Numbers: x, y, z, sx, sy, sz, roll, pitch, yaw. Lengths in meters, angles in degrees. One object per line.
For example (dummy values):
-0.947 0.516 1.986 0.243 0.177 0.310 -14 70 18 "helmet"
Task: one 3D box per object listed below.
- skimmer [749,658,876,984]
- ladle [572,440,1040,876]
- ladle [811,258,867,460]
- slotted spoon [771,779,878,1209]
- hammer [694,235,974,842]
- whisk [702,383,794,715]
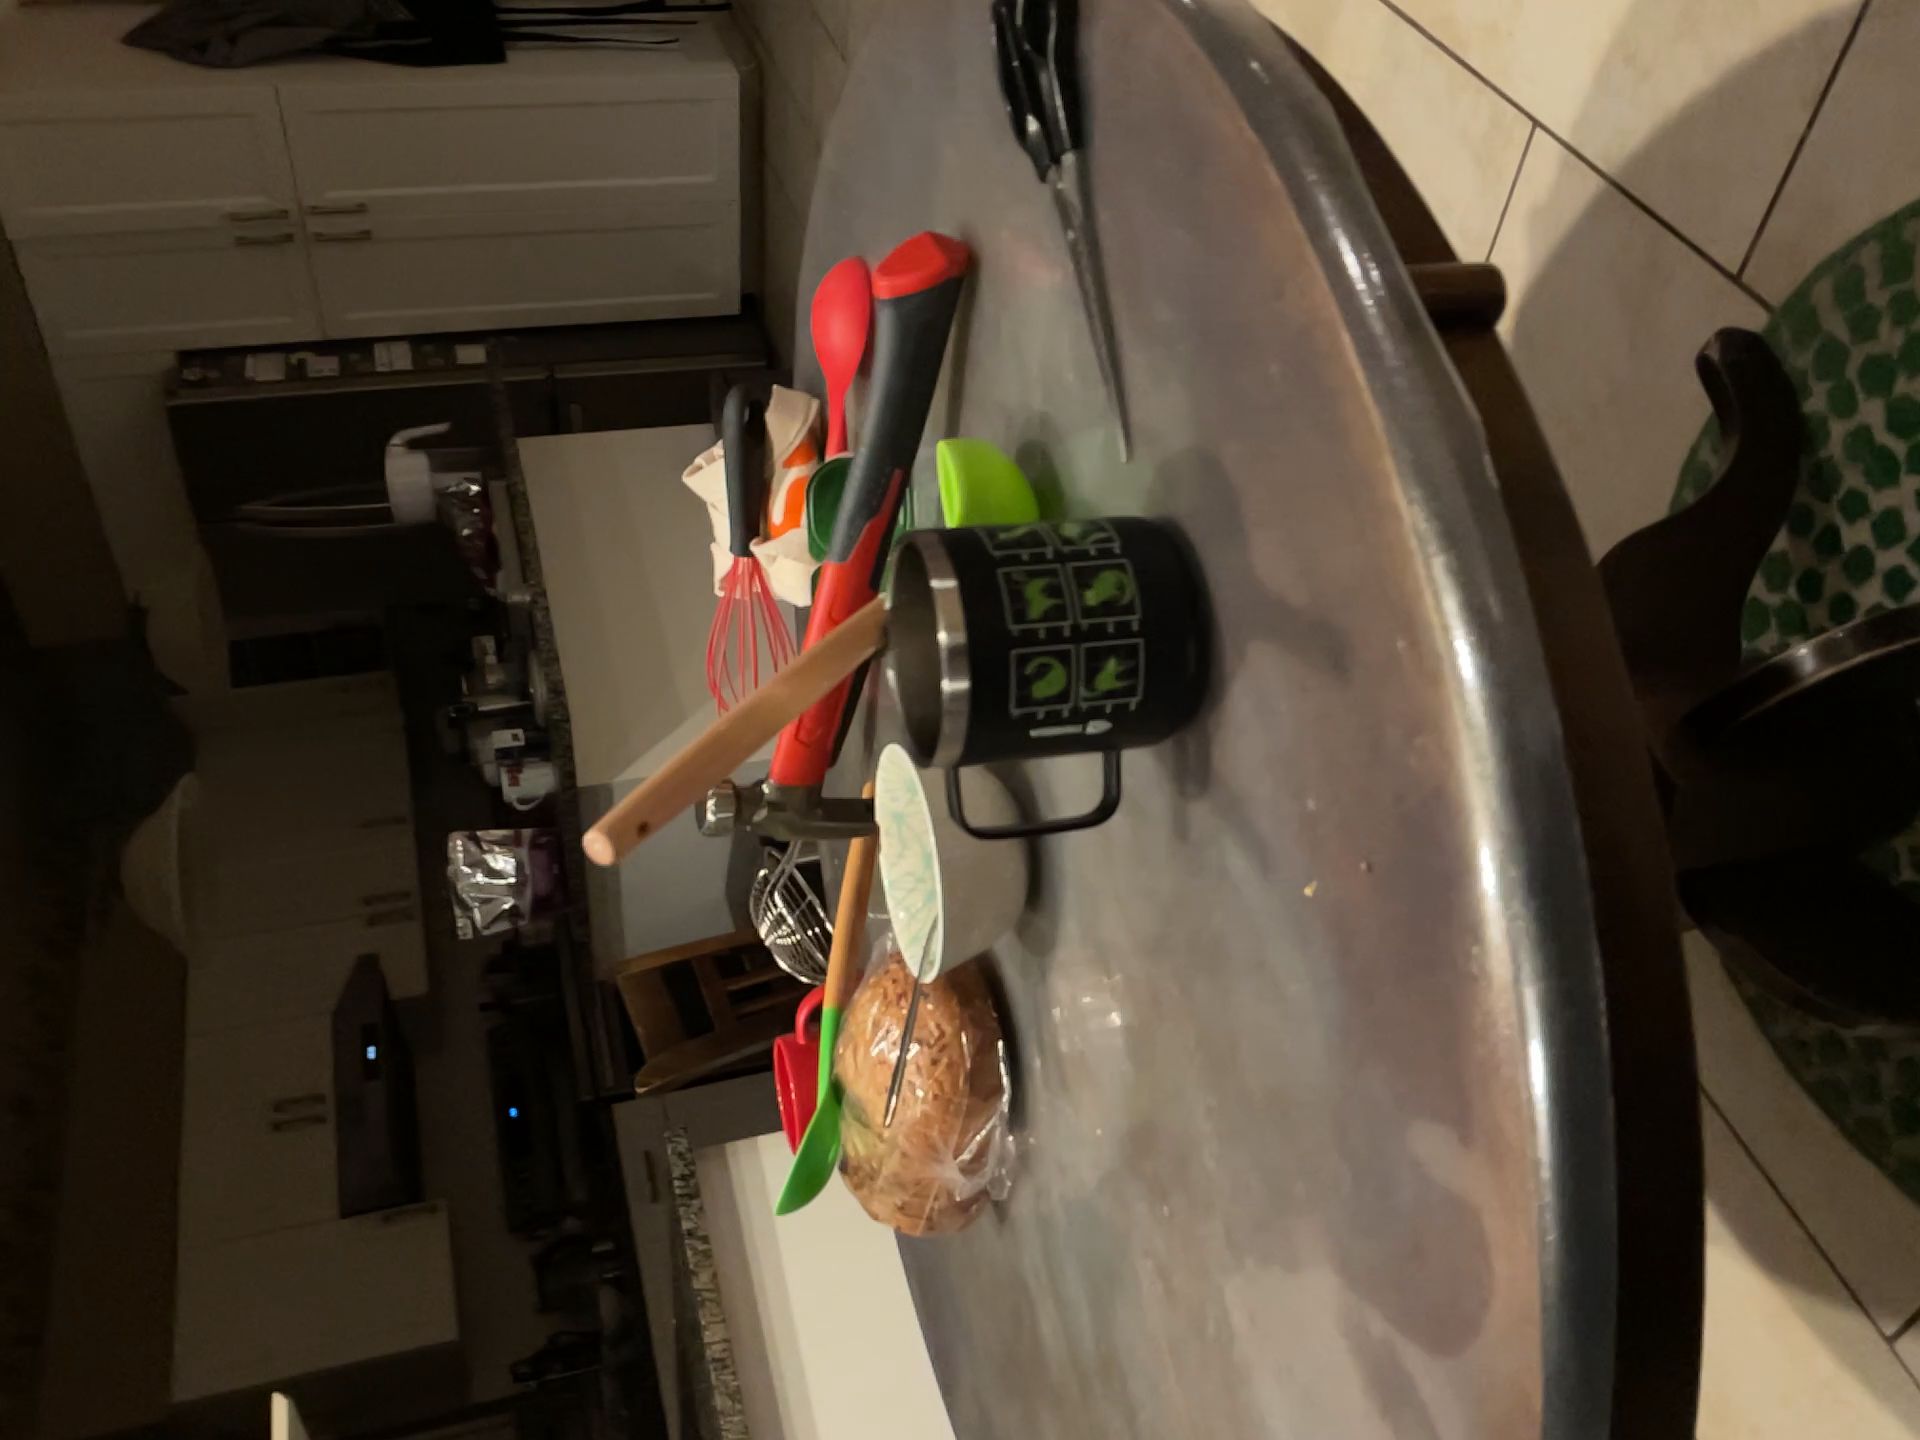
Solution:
-0.088 0.066 1.182 0.127 0.090 0.363 60 144 35 "skimmer"
-0.052 -0.031 0.622 0.062 0.320 0.078 3 119 30 "ladle"
-0.082 -0.157 1.063 0.069 0.031 0.315 -114 20 -45 "ladle"
-0.075 0.160 1.002 0.070 0.031 0.314 108 172 -48 "slotted spoon"
-0.045 -0.080 0.885 0.038 0.143 0.386 -116 35 -44 "hammer"
-0.159 -0.109 1.170 0.073 0.073 0.295 -116 25 -51 "whisk"
